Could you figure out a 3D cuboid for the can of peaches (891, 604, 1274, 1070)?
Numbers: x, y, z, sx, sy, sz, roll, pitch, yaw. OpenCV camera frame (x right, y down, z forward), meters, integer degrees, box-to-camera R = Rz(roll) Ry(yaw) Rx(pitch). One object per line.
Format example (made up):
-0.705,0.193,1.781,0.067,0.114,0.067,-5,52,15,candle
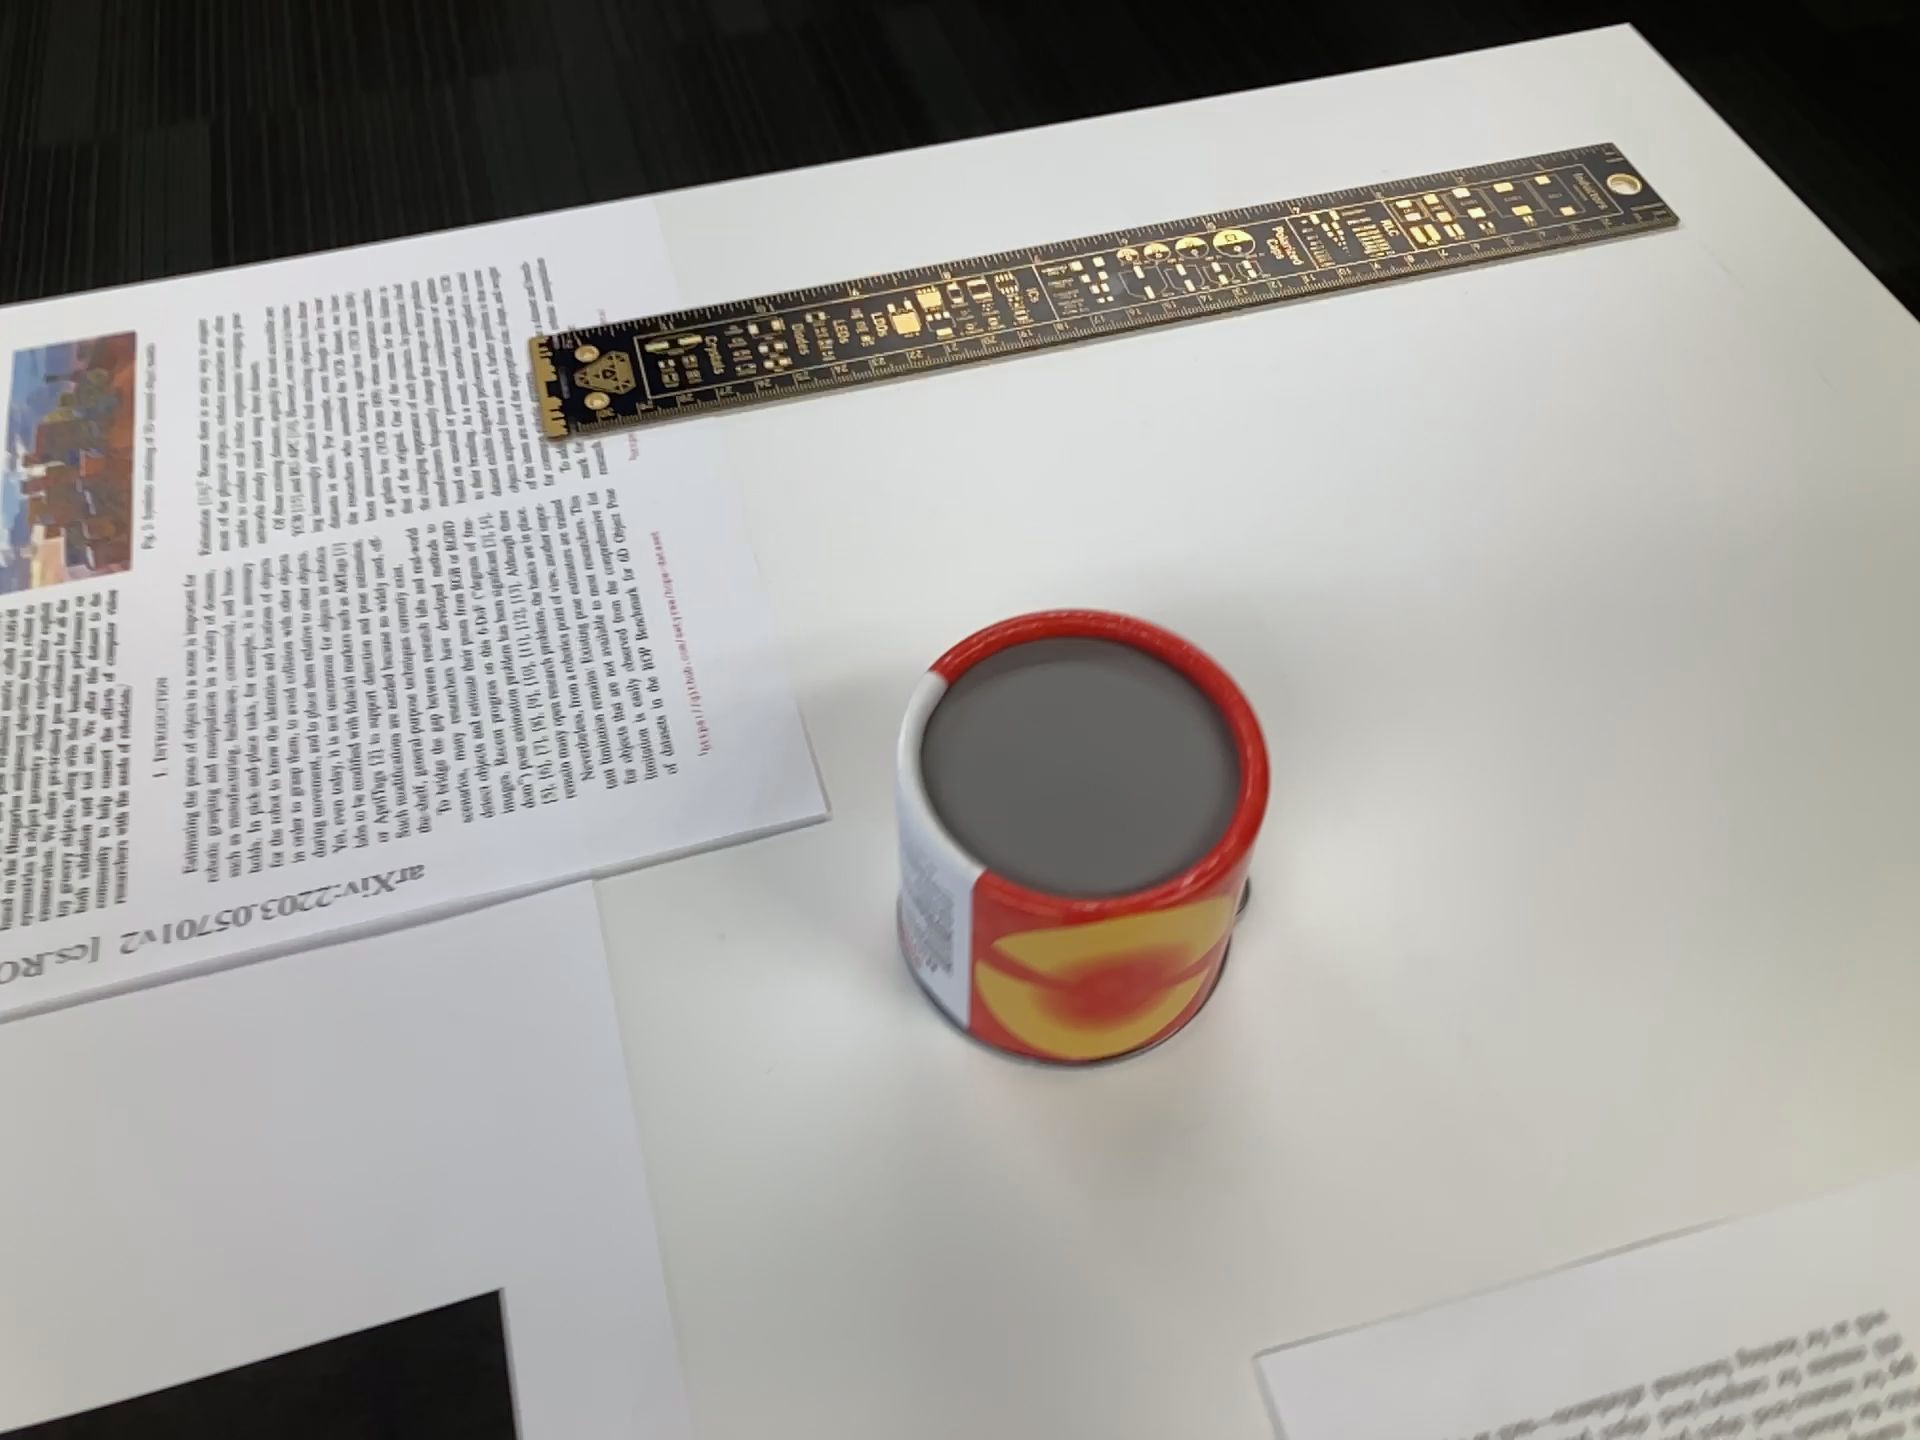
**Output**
0.023,0.021,0.292,0.071,0.058,0.071,-1,54,1,can of peaches
